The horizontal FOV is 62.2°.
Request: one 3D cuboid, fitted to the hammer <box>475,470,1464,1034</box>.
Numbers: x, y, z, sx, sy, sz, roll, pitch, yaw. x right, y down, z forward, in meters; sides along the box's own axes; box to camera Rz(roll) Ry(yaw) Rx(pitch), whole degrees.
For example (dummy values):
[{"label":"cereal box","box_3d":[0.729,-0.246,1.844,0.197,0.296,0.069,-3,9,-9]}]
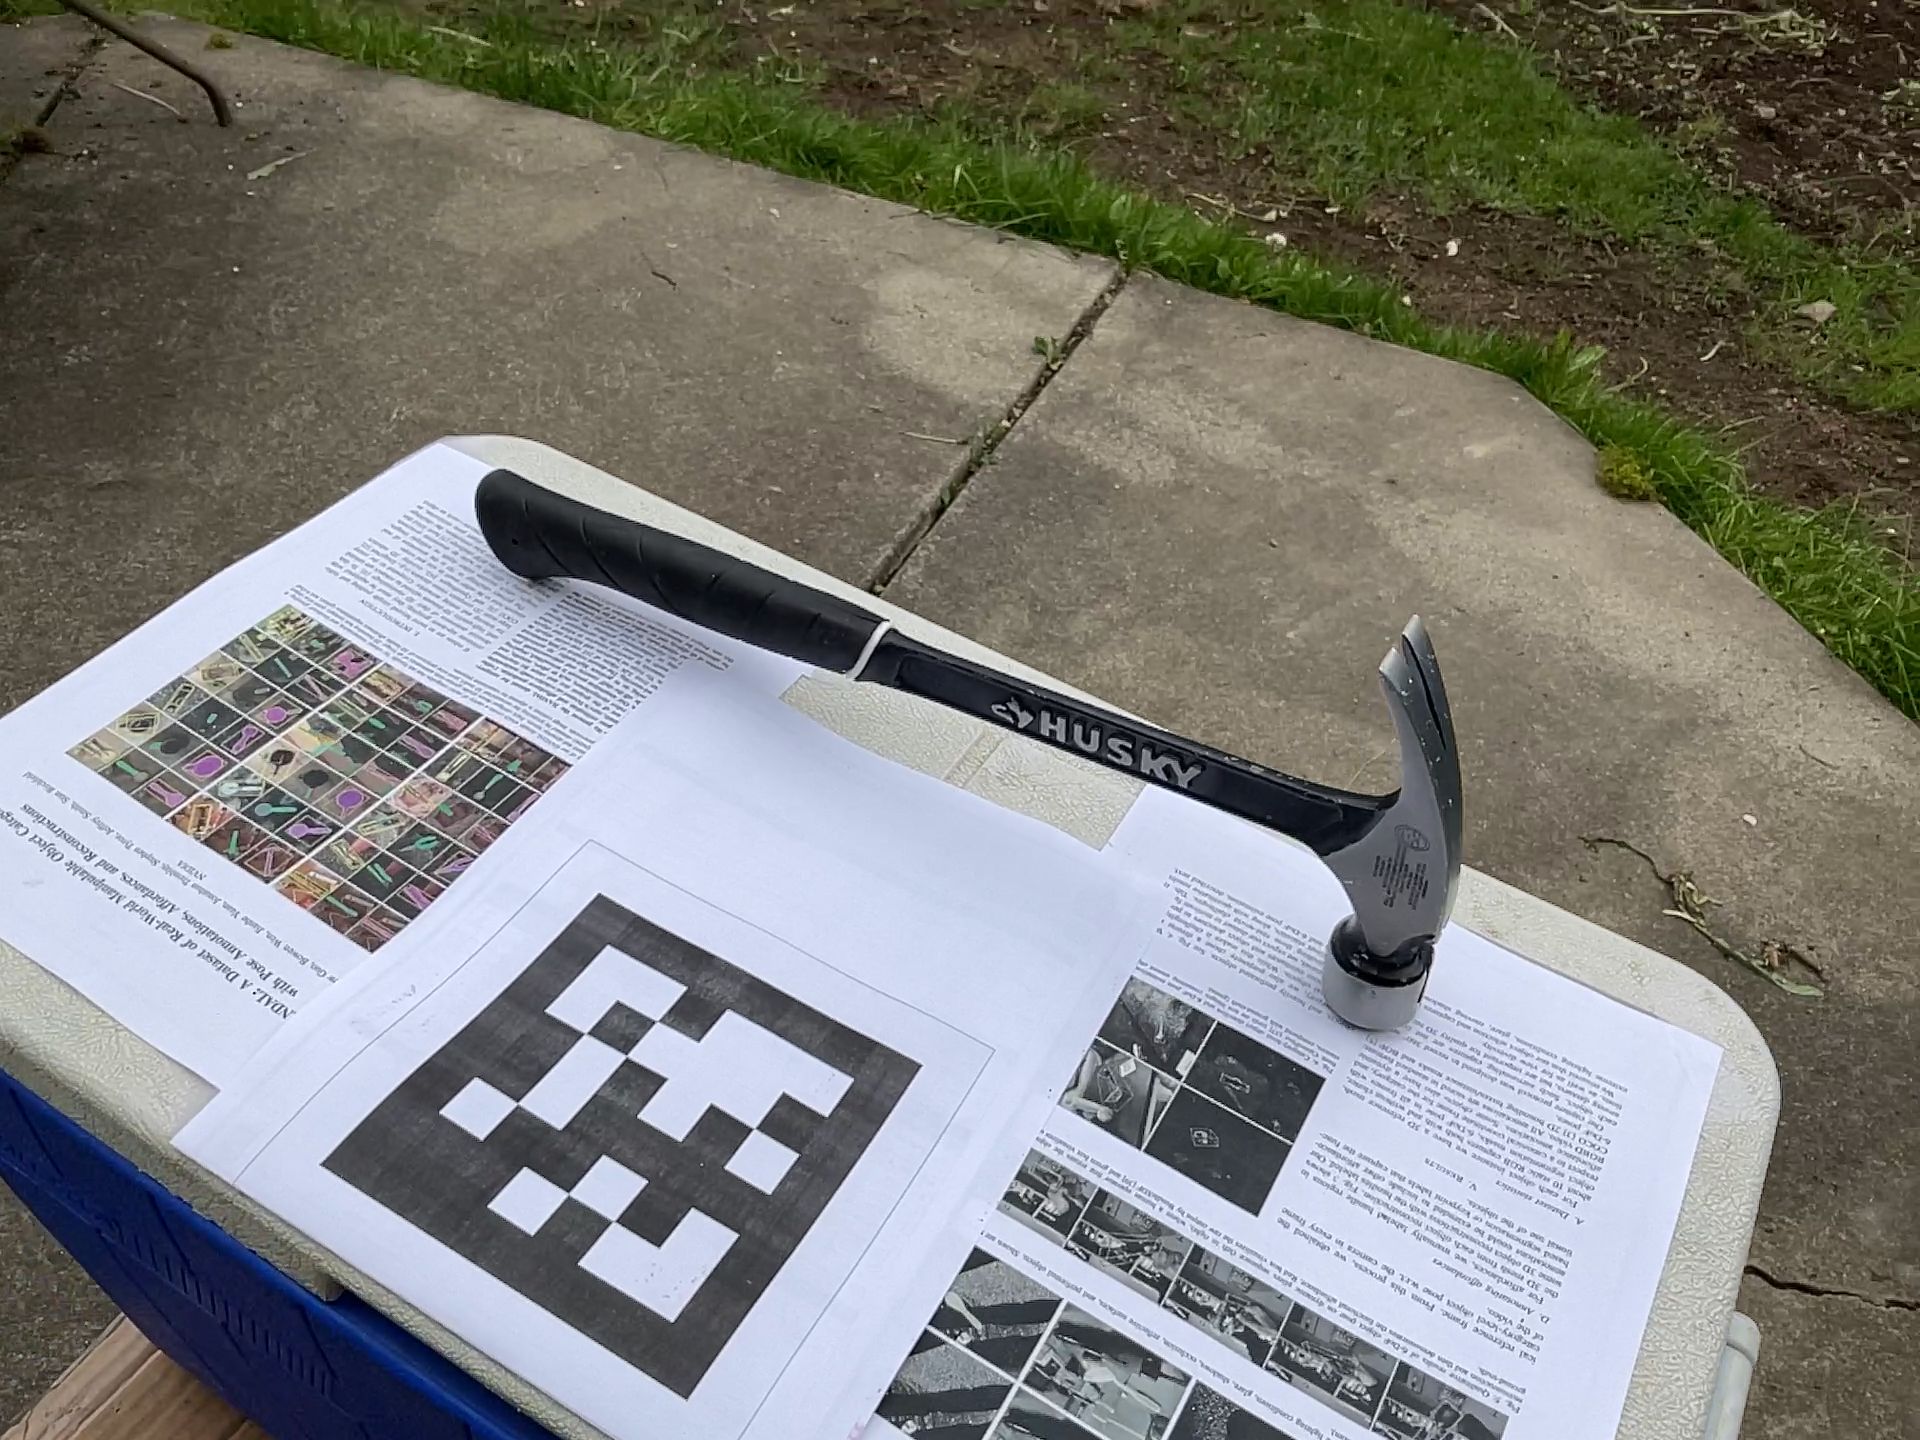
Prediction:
[{"label":"hammer","box_3d":[-0.018,-0.022,0.578,0.409,0.149,0.036,21,45,23]}]
